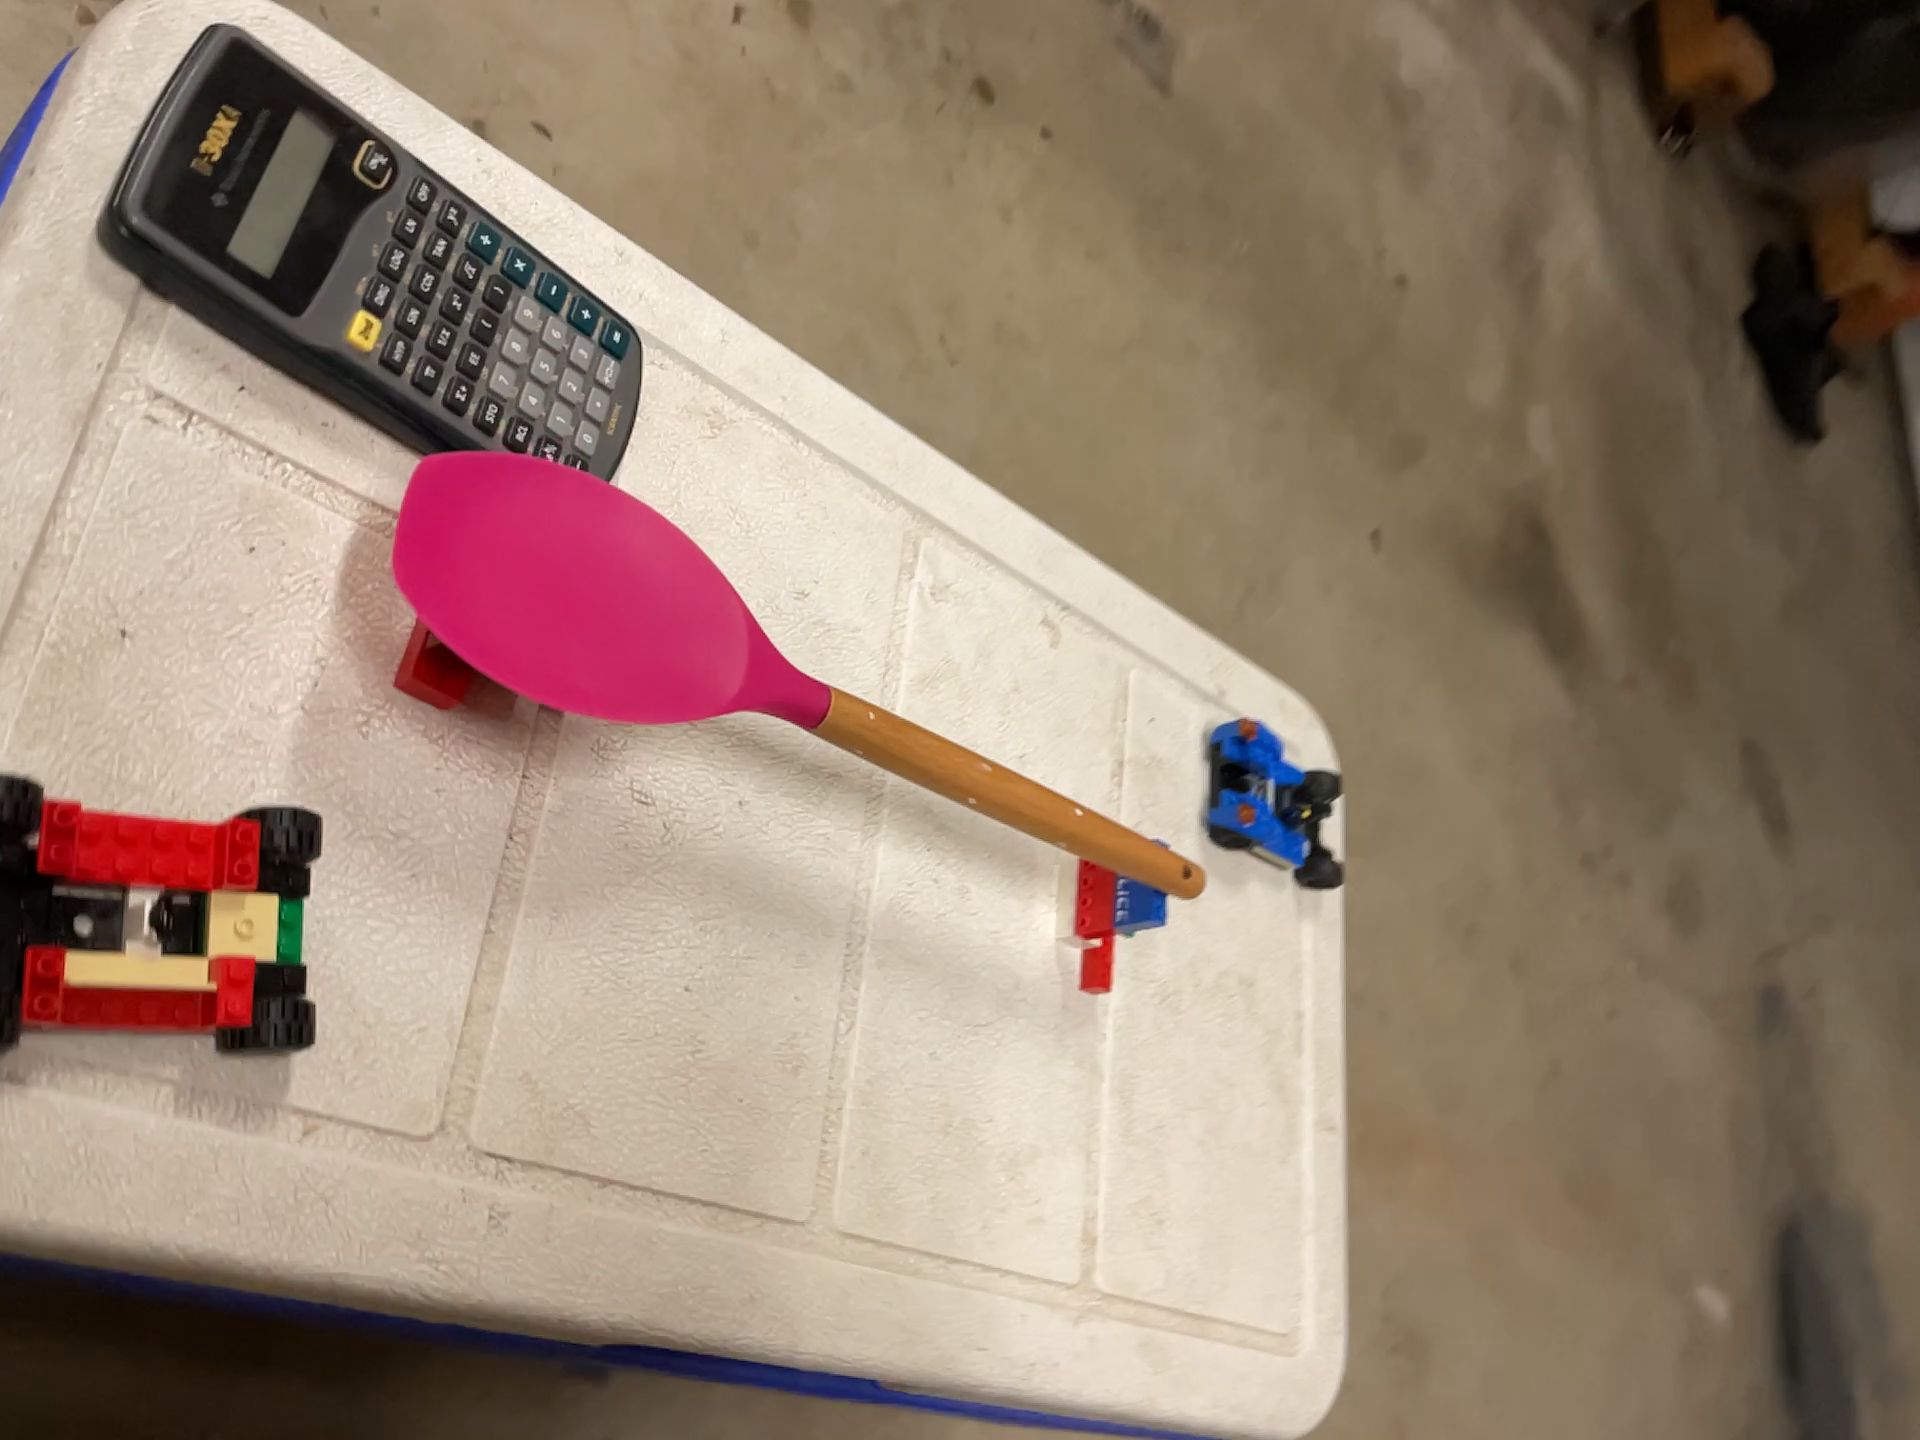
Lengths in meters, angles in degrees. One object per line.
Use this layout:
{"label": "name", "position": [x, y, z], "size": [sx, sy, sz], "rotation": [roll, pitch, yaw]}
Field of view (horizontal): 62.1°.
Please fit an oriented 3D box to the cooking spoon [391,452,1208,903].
{"label": "cooking spoon", "position": [-0.026, 0.006, 0.490], "size": [0.319, 0.017, 0.069], "rotation": [26, 59, -38]}
